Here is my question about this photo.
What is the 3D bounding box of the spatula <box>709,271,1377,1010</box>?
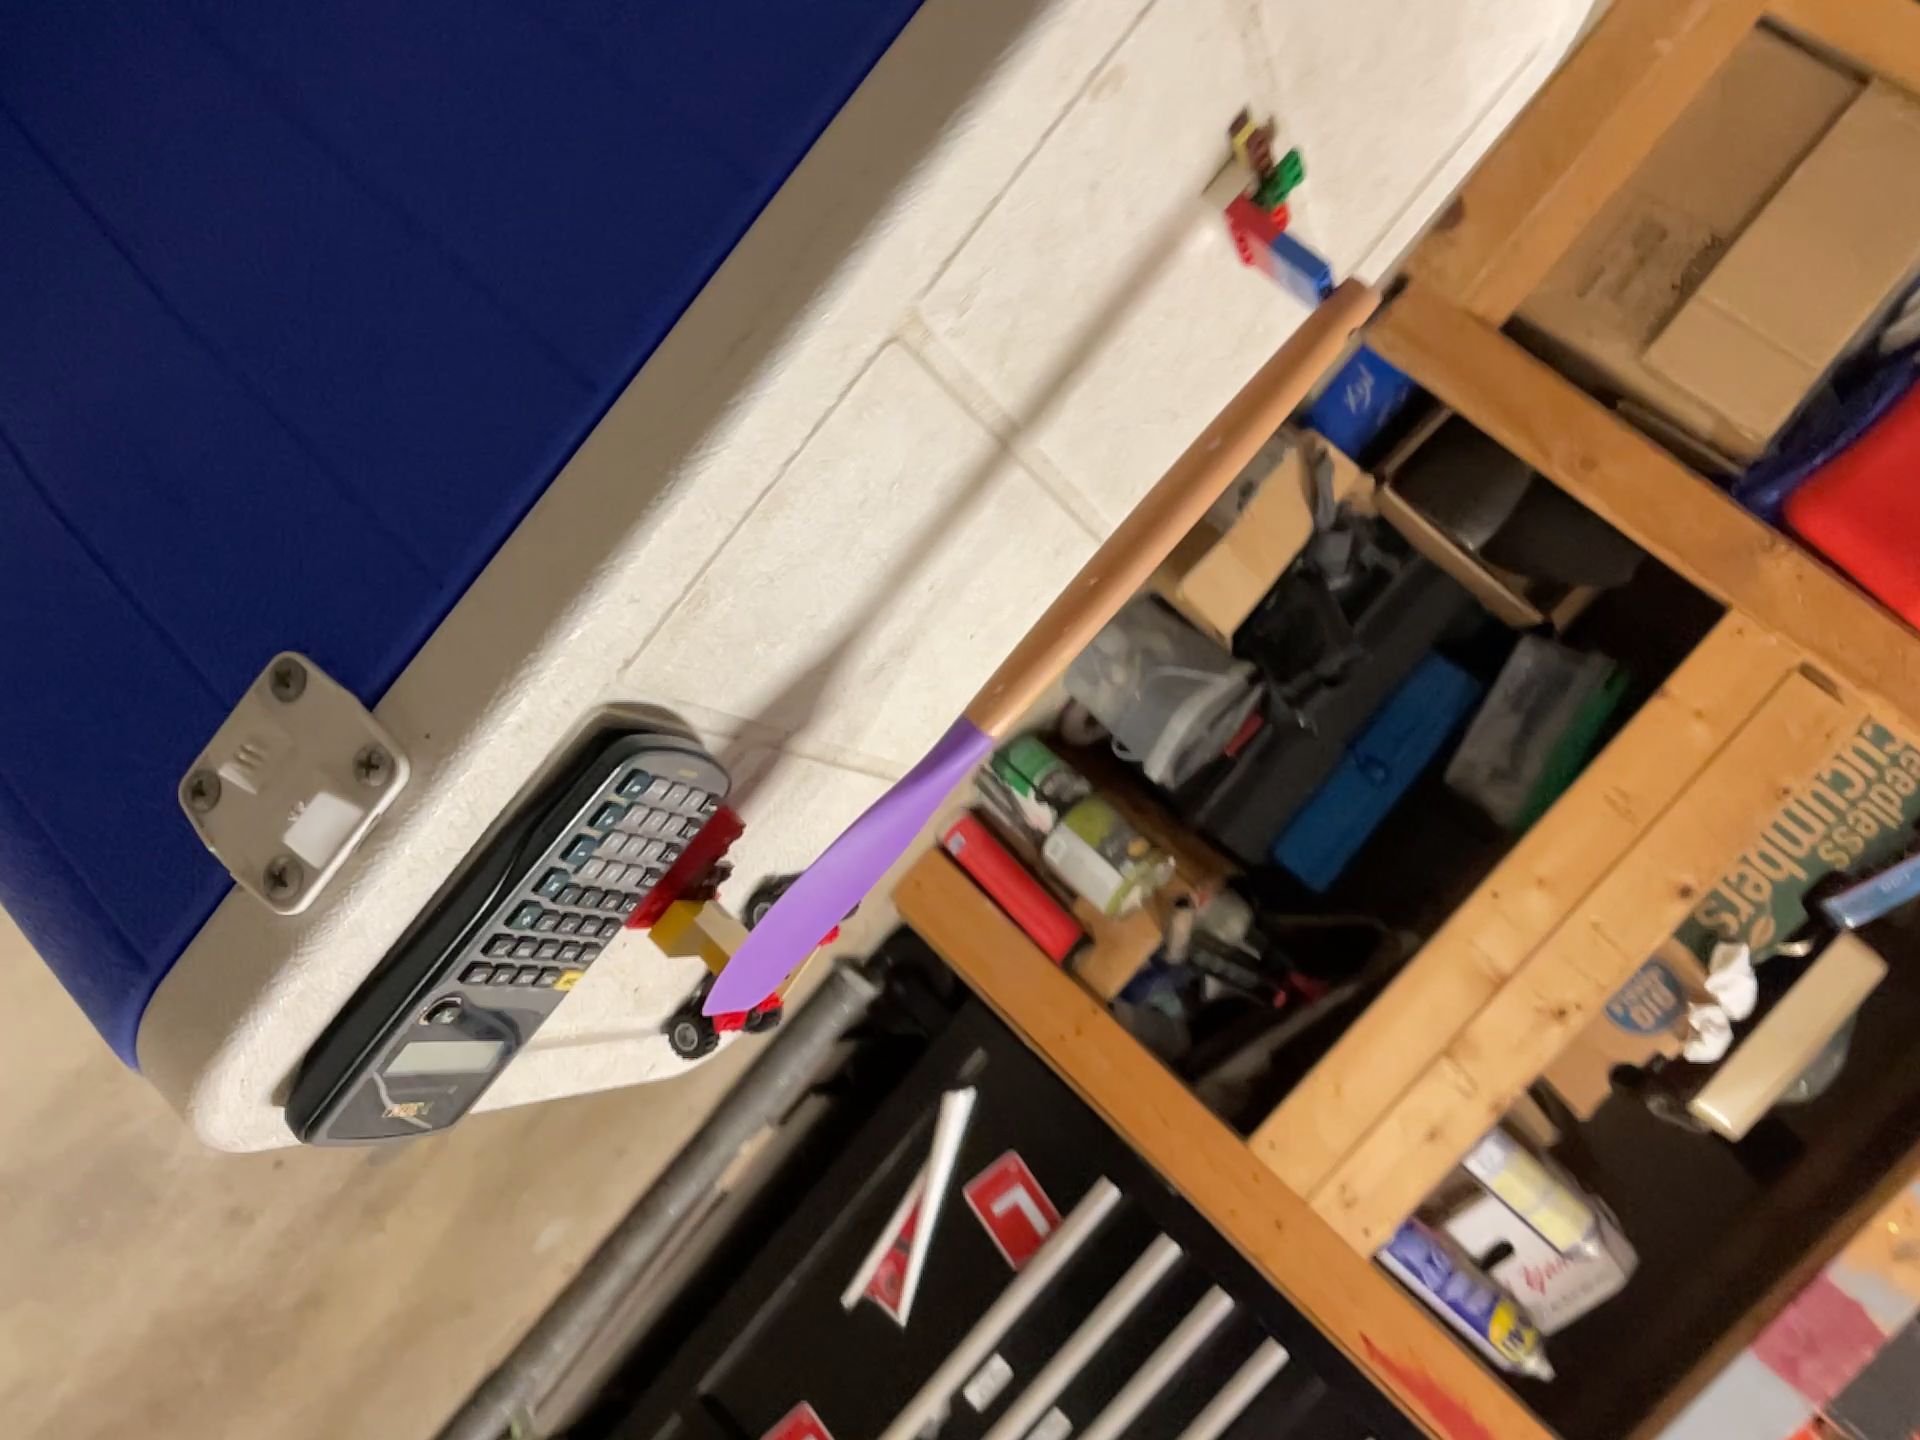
[{"bbox_3d":[0.024,-0.020,0.520,0.315,0.018,0.060,-49,162,7],"label":"spatula"}]
